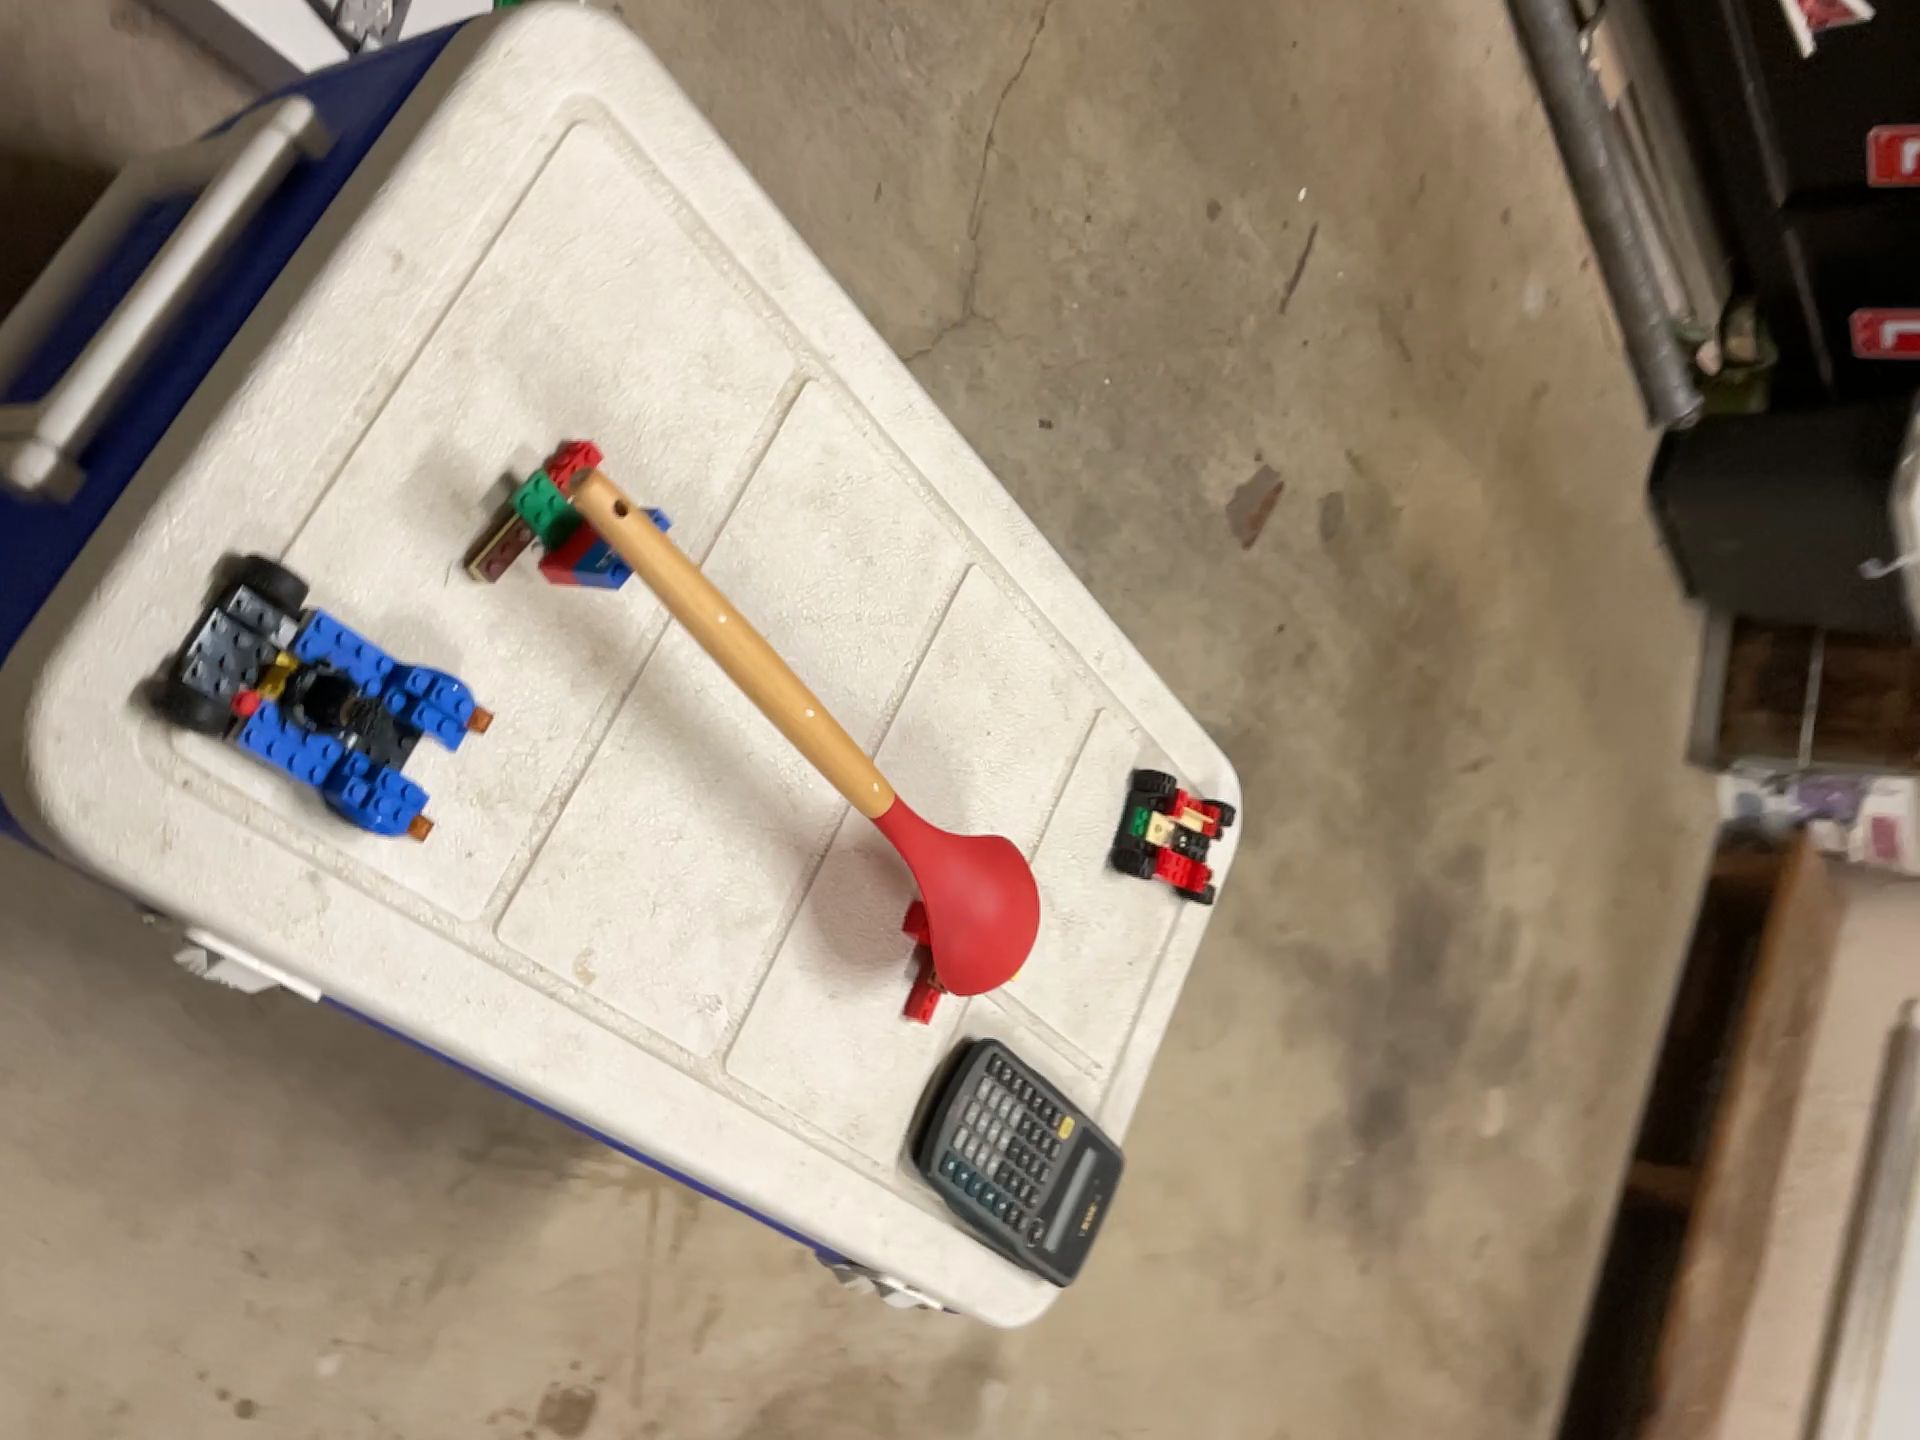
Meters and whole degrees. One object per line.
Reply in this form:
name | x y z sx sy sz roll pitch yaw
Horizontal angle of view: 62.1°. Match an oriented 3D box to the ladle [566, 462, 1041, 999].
ladle | -0.044 0.015 0.605 0.315 0.031 0.069 51 60 -40
